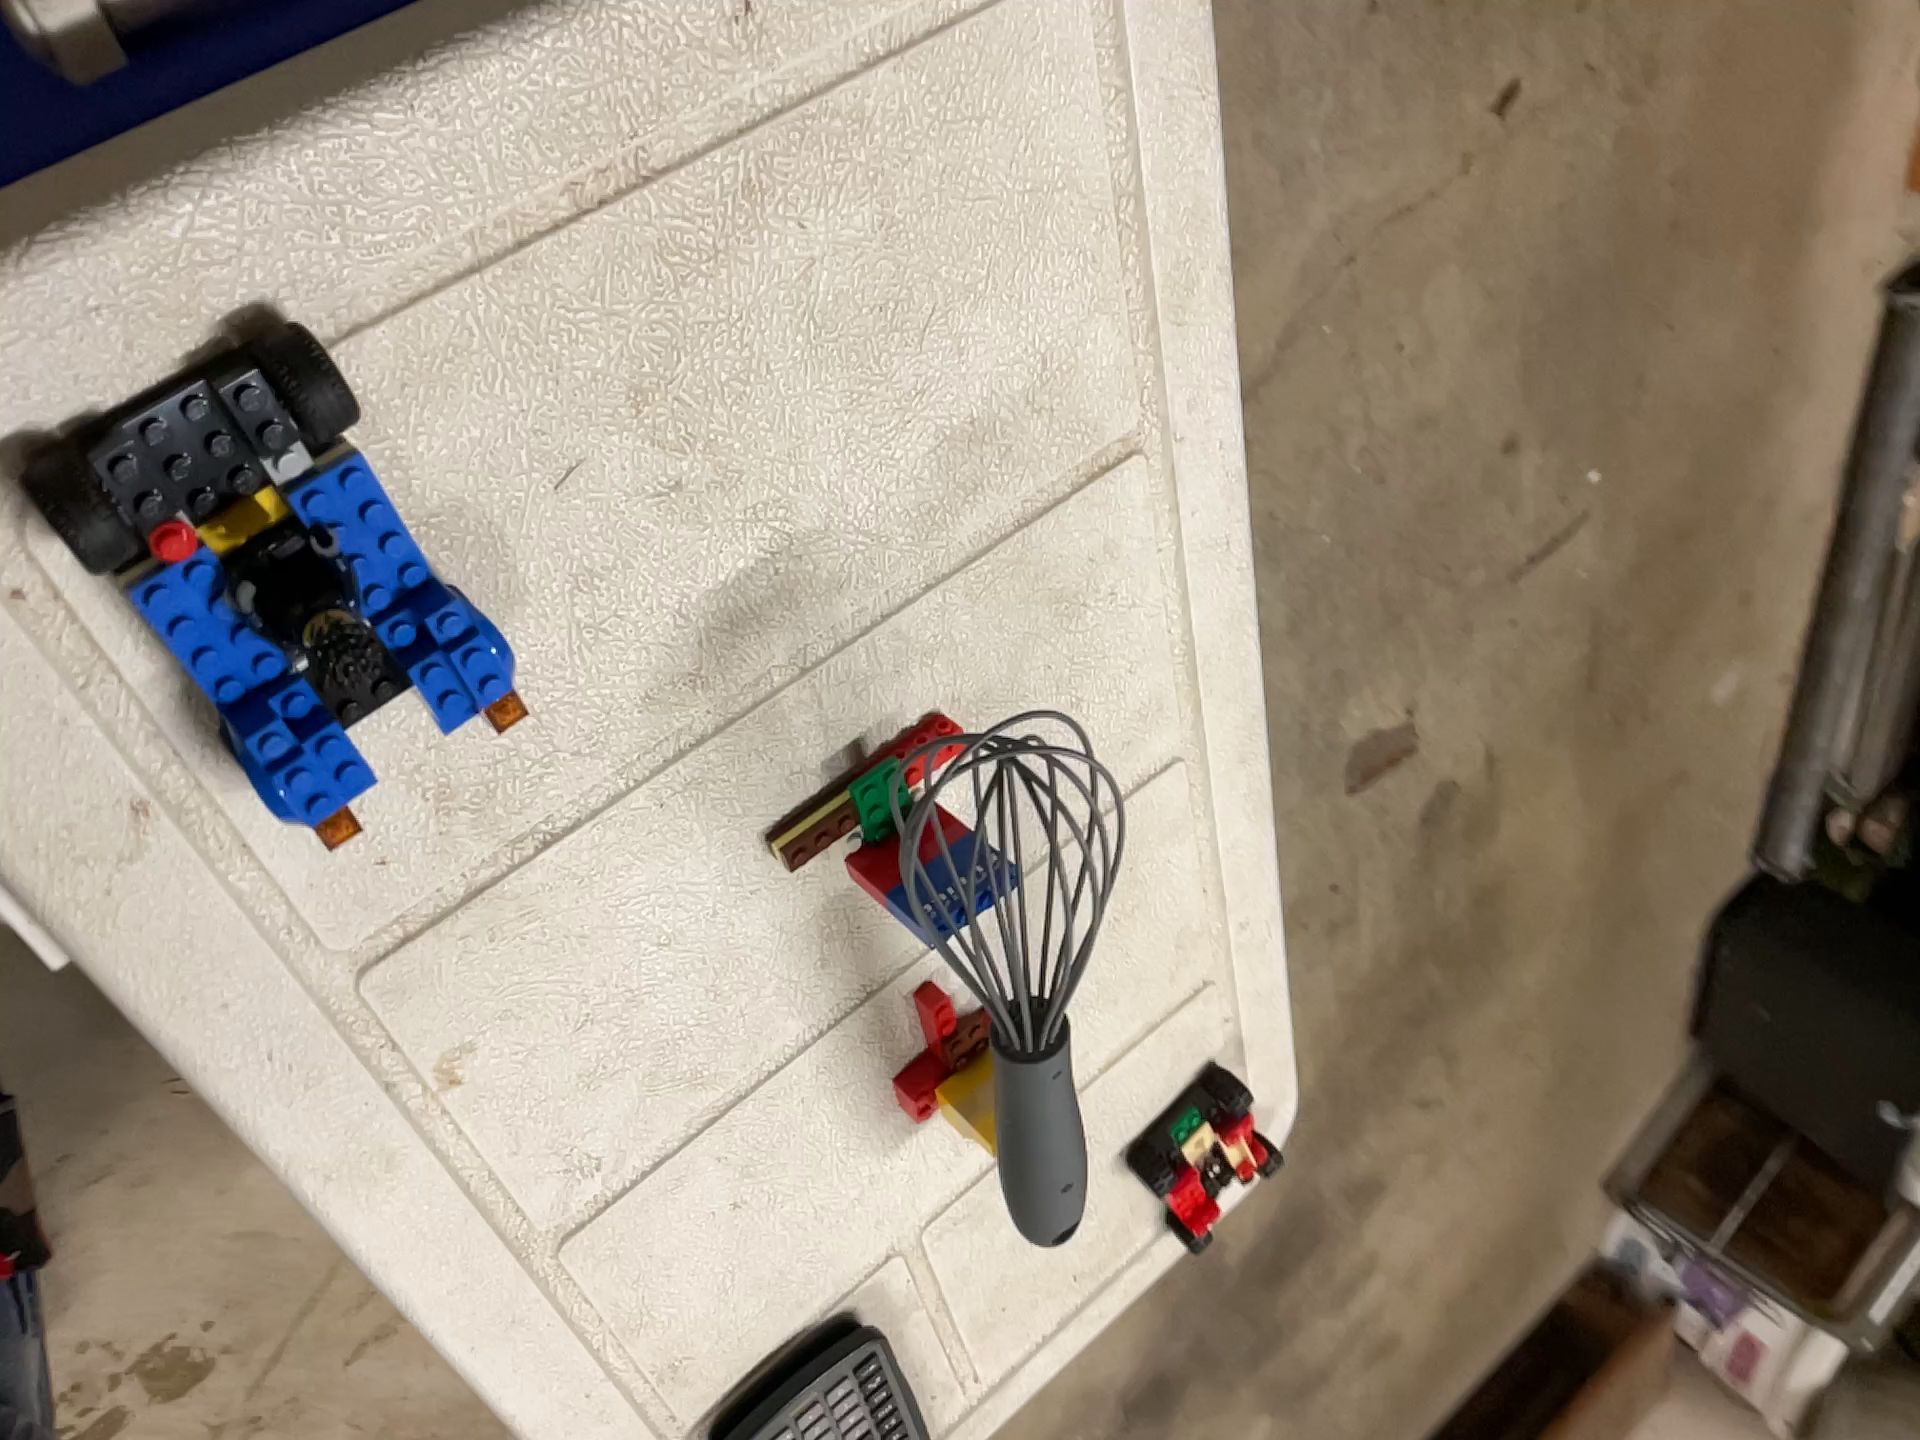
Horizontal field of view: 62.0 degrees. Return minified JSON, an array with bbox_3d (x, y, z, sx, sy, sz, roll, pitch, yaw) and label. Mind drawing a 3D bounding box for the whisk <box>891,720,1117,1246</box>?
[{"bbox_3d":[0.016,0.086,0.445,0.055,0.055,0.239,-31,140,-22],"label":"whisk"}]
